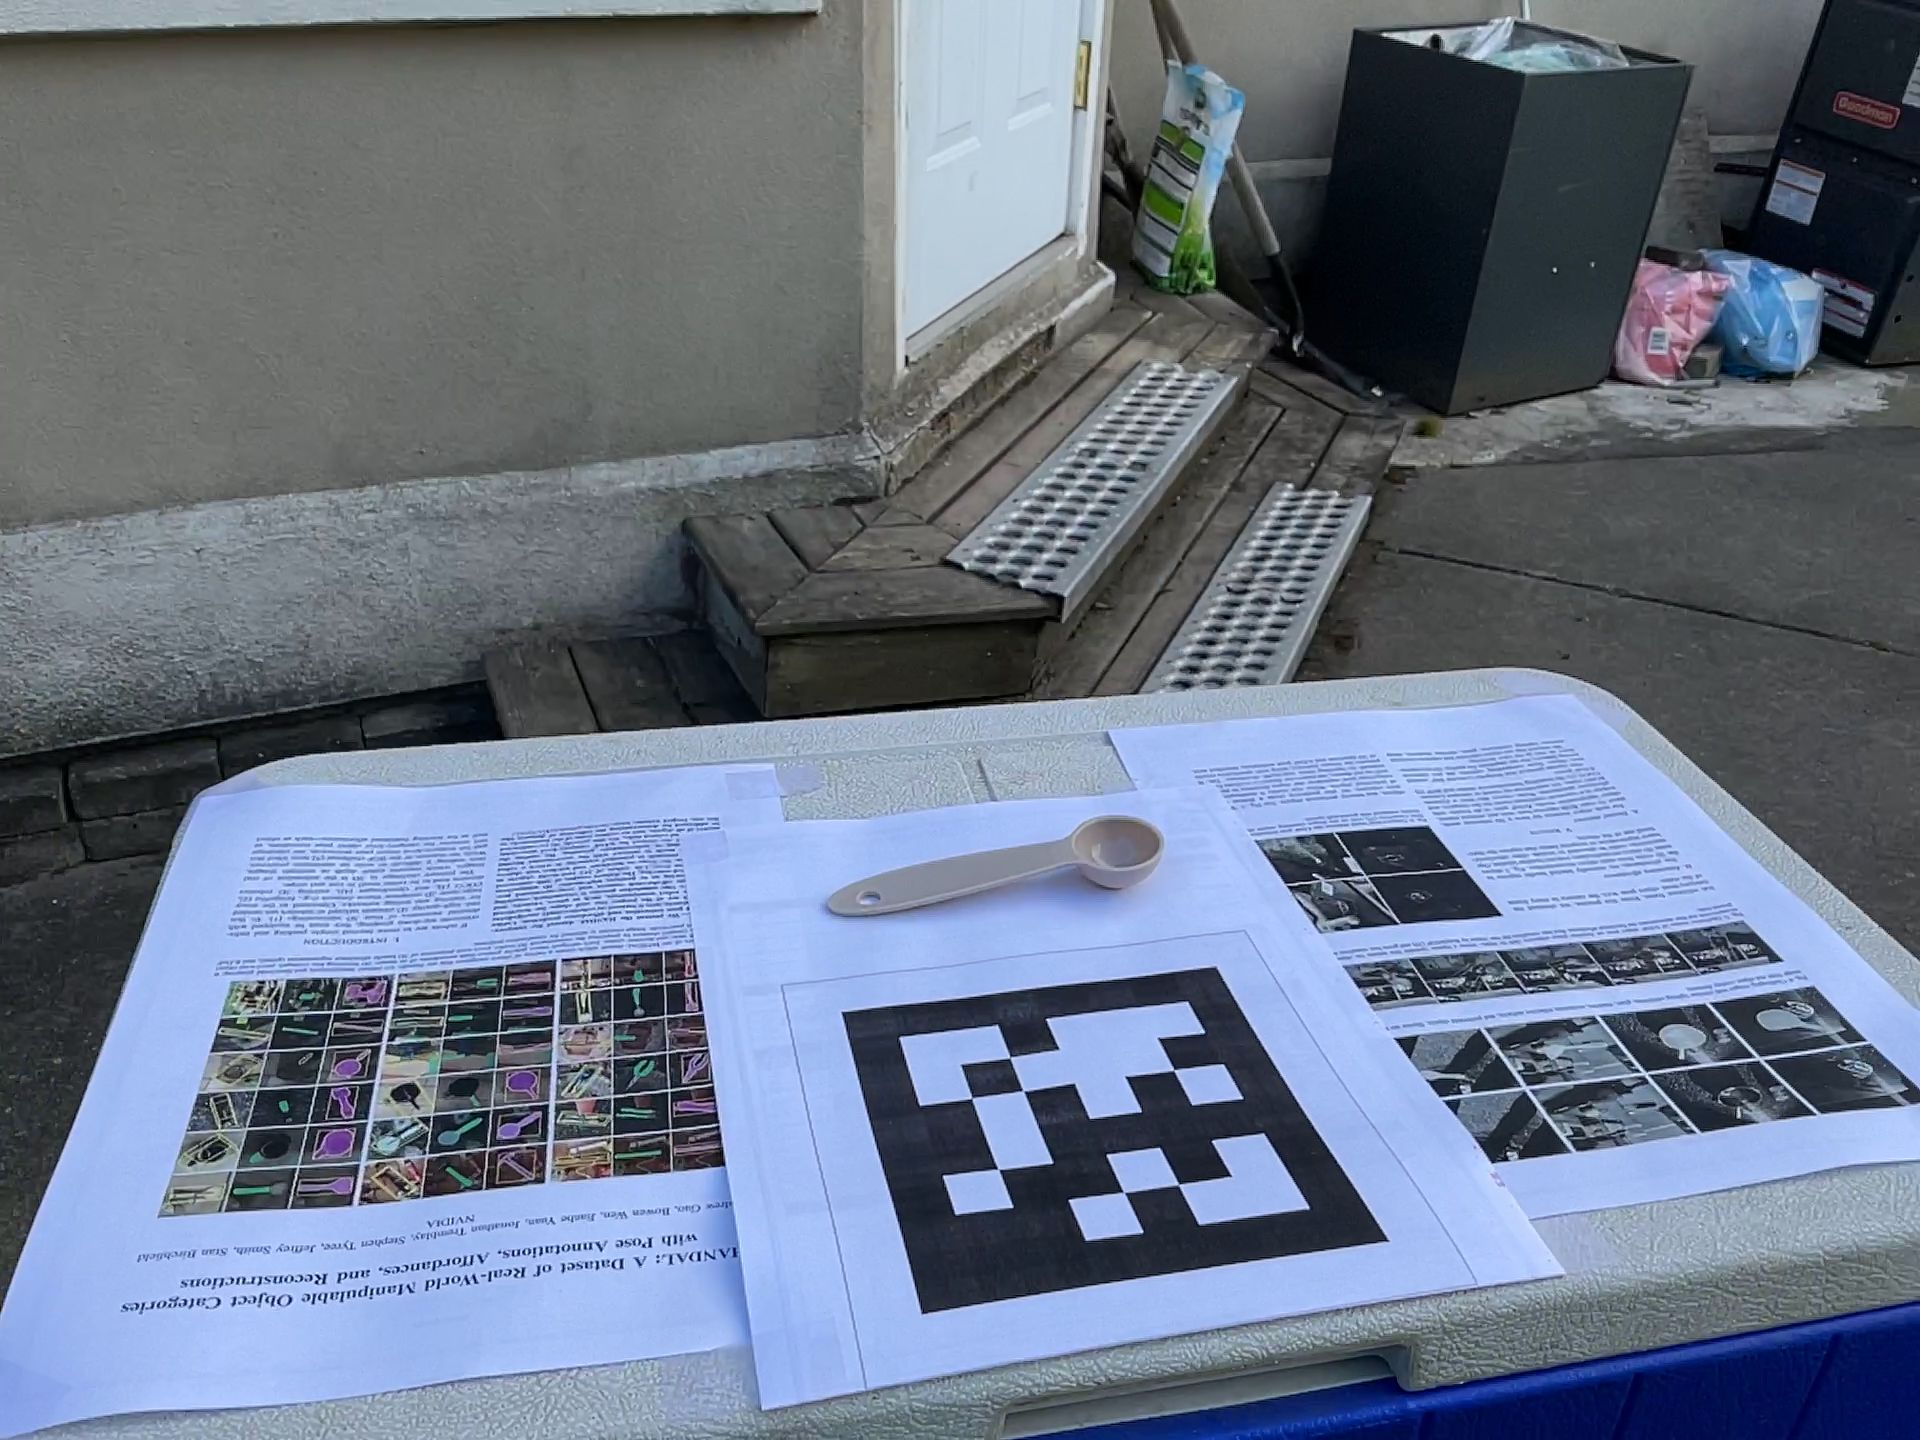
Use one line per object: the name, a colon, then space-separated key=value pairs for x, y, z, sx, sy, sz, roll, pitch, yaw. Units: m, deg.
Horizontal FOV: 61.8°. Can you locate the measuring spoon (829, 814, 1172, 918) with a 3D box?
measuring spoon: x=0.015 y=0.058 z=0.571 sx=0.124 sy=0.018 sz=0.034 roll=-11 pitch=33 yaw=-8
